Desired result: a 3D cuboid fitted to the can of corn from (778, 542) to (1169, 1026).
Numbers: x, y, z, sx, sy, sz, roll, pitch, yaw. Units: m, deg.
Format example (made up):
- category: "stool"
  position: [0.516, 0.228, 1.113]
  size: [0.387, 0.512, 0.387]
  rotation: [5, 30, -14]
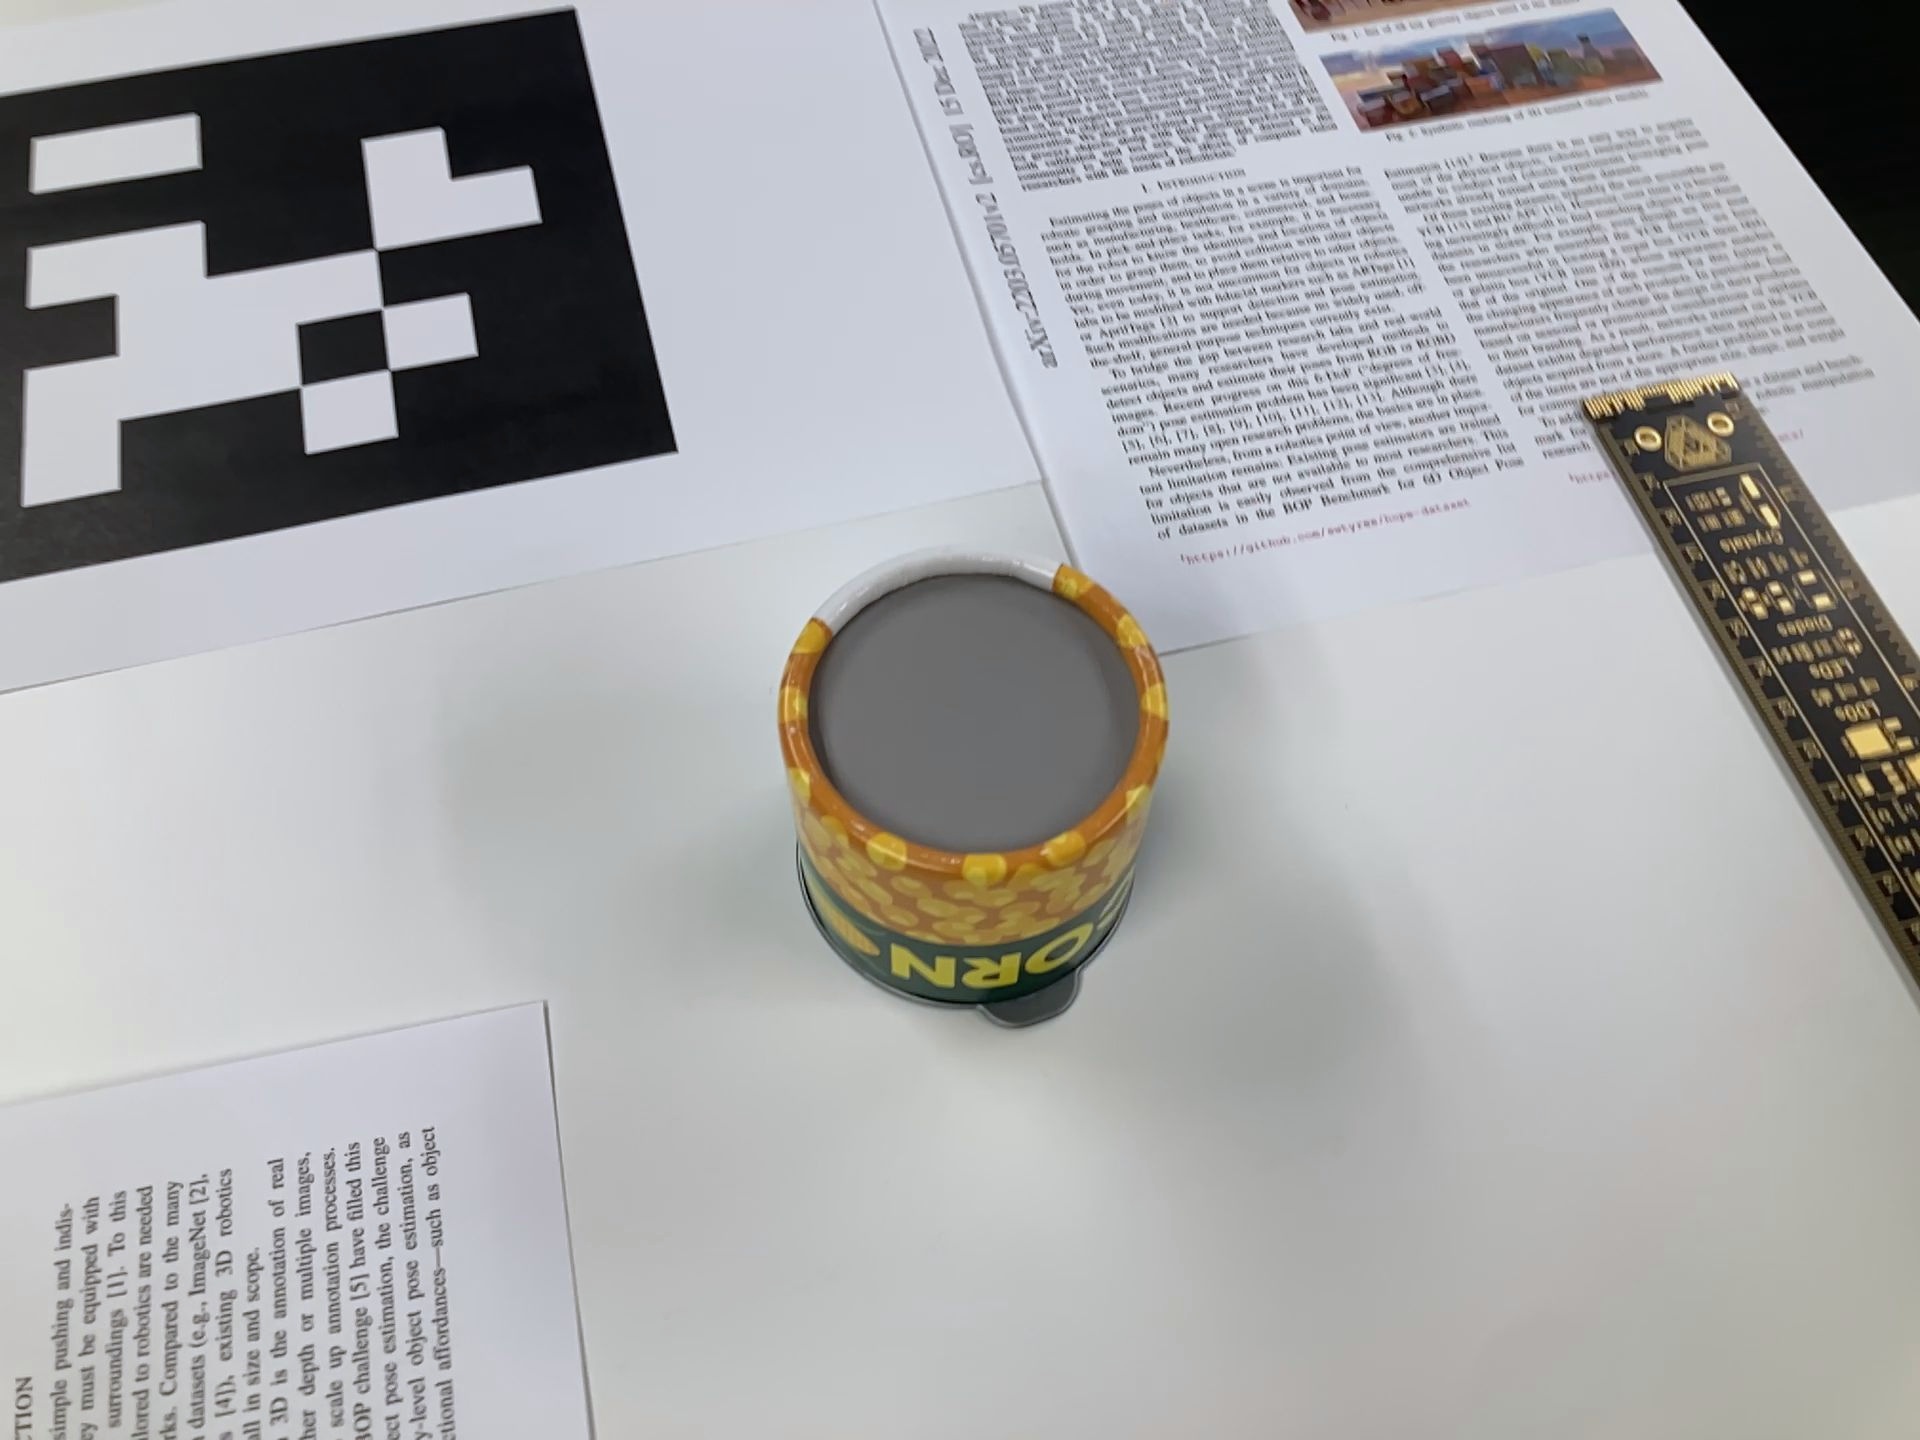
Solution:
- category: "can of corn"
  position: [0.003, 0.012, 0.286]
  size: [0.071, 0.058, 0.071]
  rotation: [1, 60, -1]
